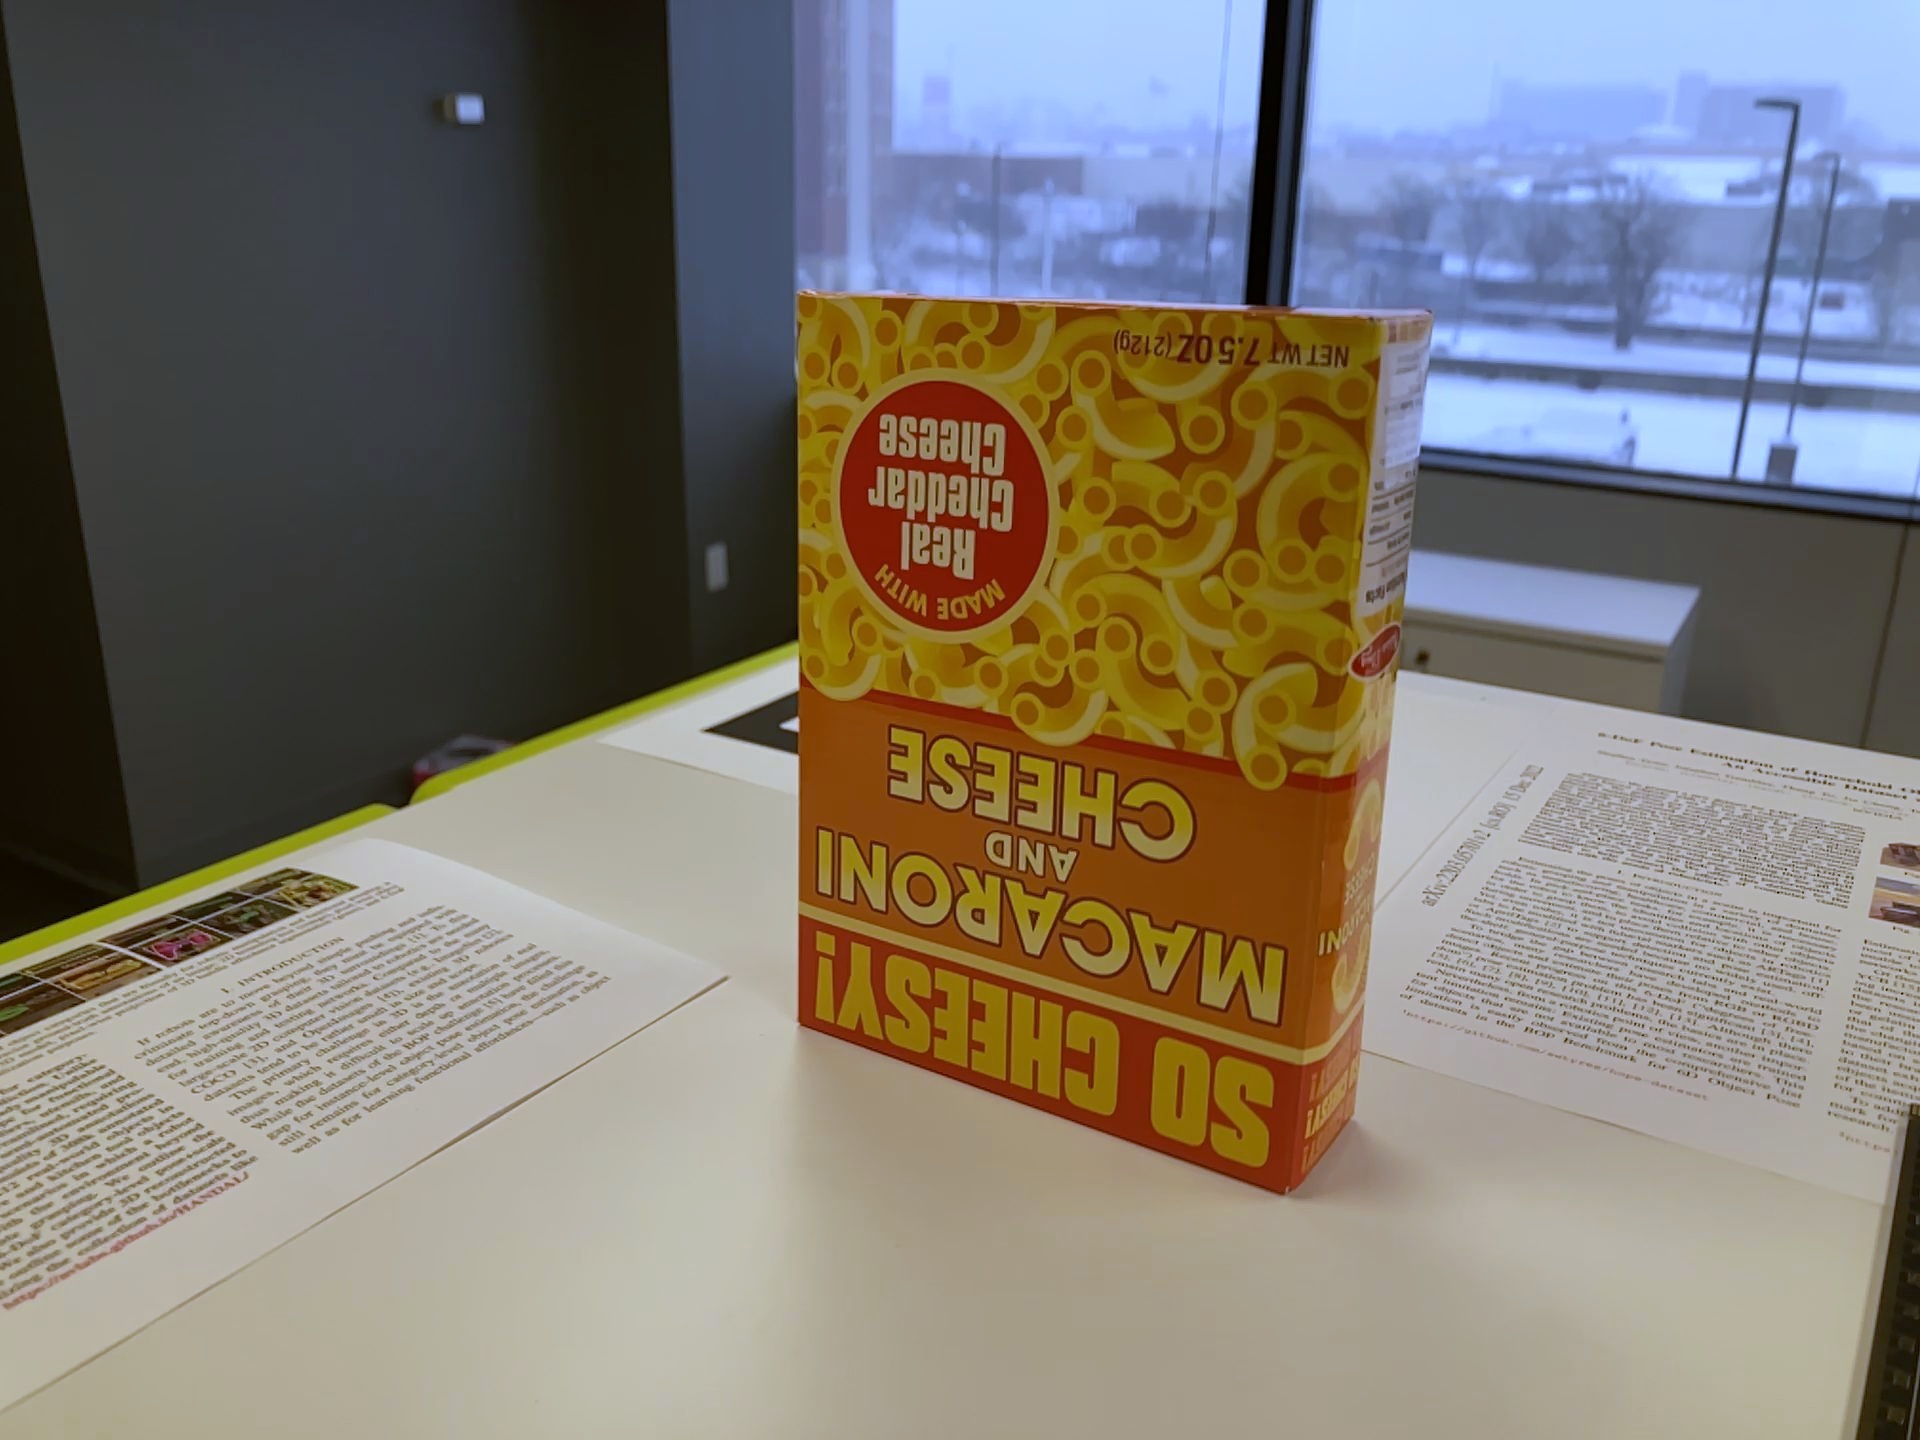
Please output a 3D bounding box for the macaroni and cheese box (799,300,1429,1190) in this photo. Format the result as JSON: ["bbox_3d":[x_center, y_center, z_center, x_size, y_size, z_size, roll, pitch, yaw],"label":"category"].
[{"bbox_3d":[0.026,-0.001,0.334,0.124,0.166,0.040,11,18,31],"label":"macaroni and cheese box"}]
